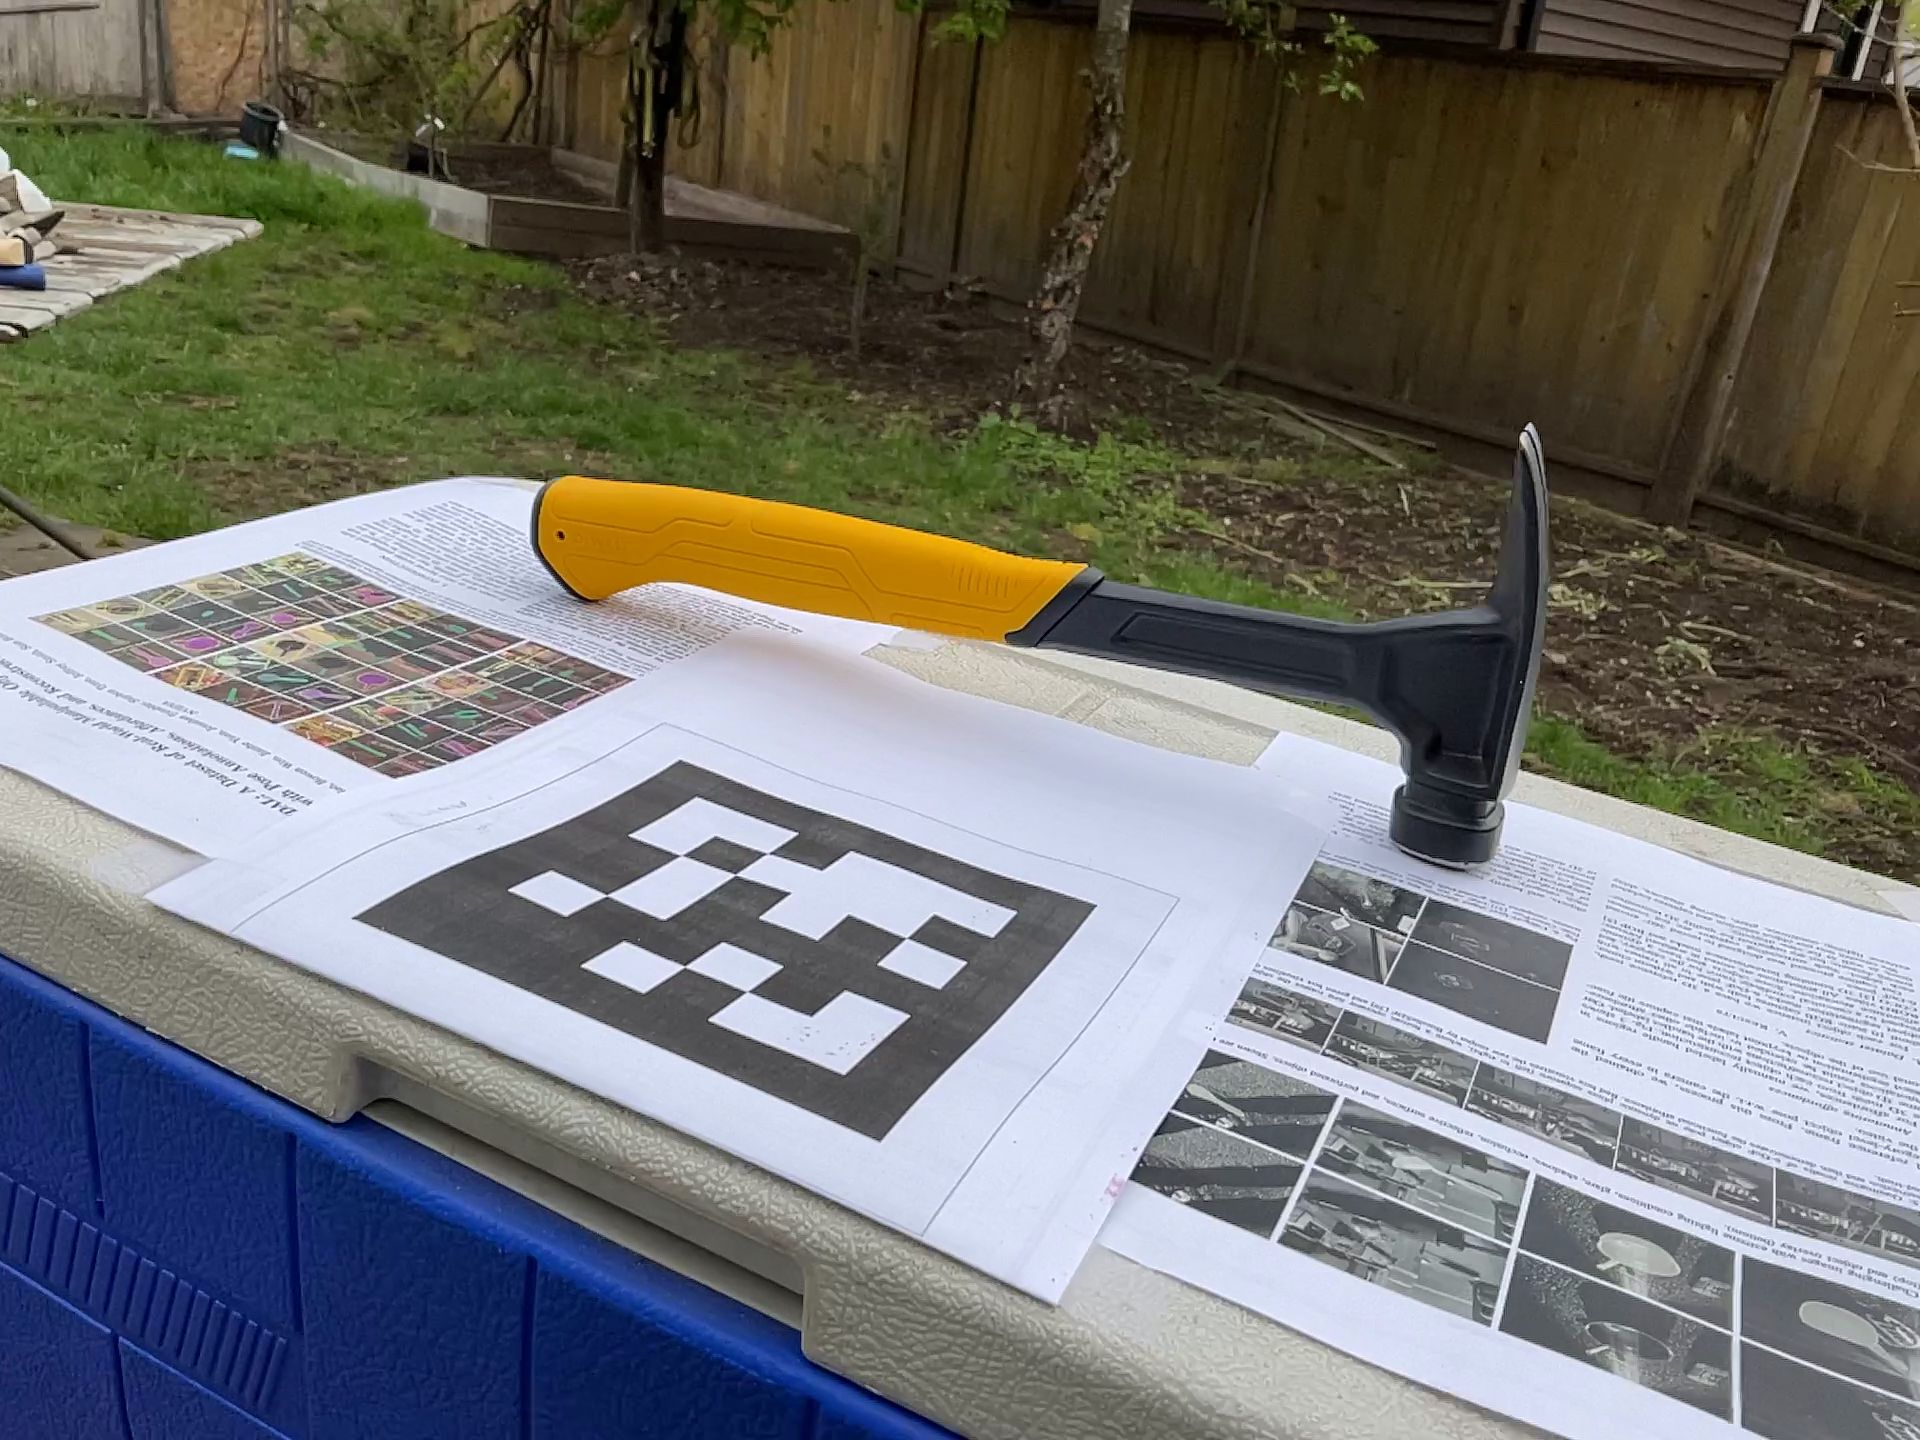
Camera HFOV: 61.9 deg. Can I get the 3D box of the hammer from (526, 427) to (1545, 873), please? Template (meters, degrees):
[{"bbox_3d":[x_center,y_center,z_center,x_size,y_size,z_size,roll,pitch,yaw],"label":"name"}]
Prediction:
[{"bbox_3d":[0.007,-0.046,0.510,0.337,0.127,0.034,11,22,20],"label":"hammer"}]
